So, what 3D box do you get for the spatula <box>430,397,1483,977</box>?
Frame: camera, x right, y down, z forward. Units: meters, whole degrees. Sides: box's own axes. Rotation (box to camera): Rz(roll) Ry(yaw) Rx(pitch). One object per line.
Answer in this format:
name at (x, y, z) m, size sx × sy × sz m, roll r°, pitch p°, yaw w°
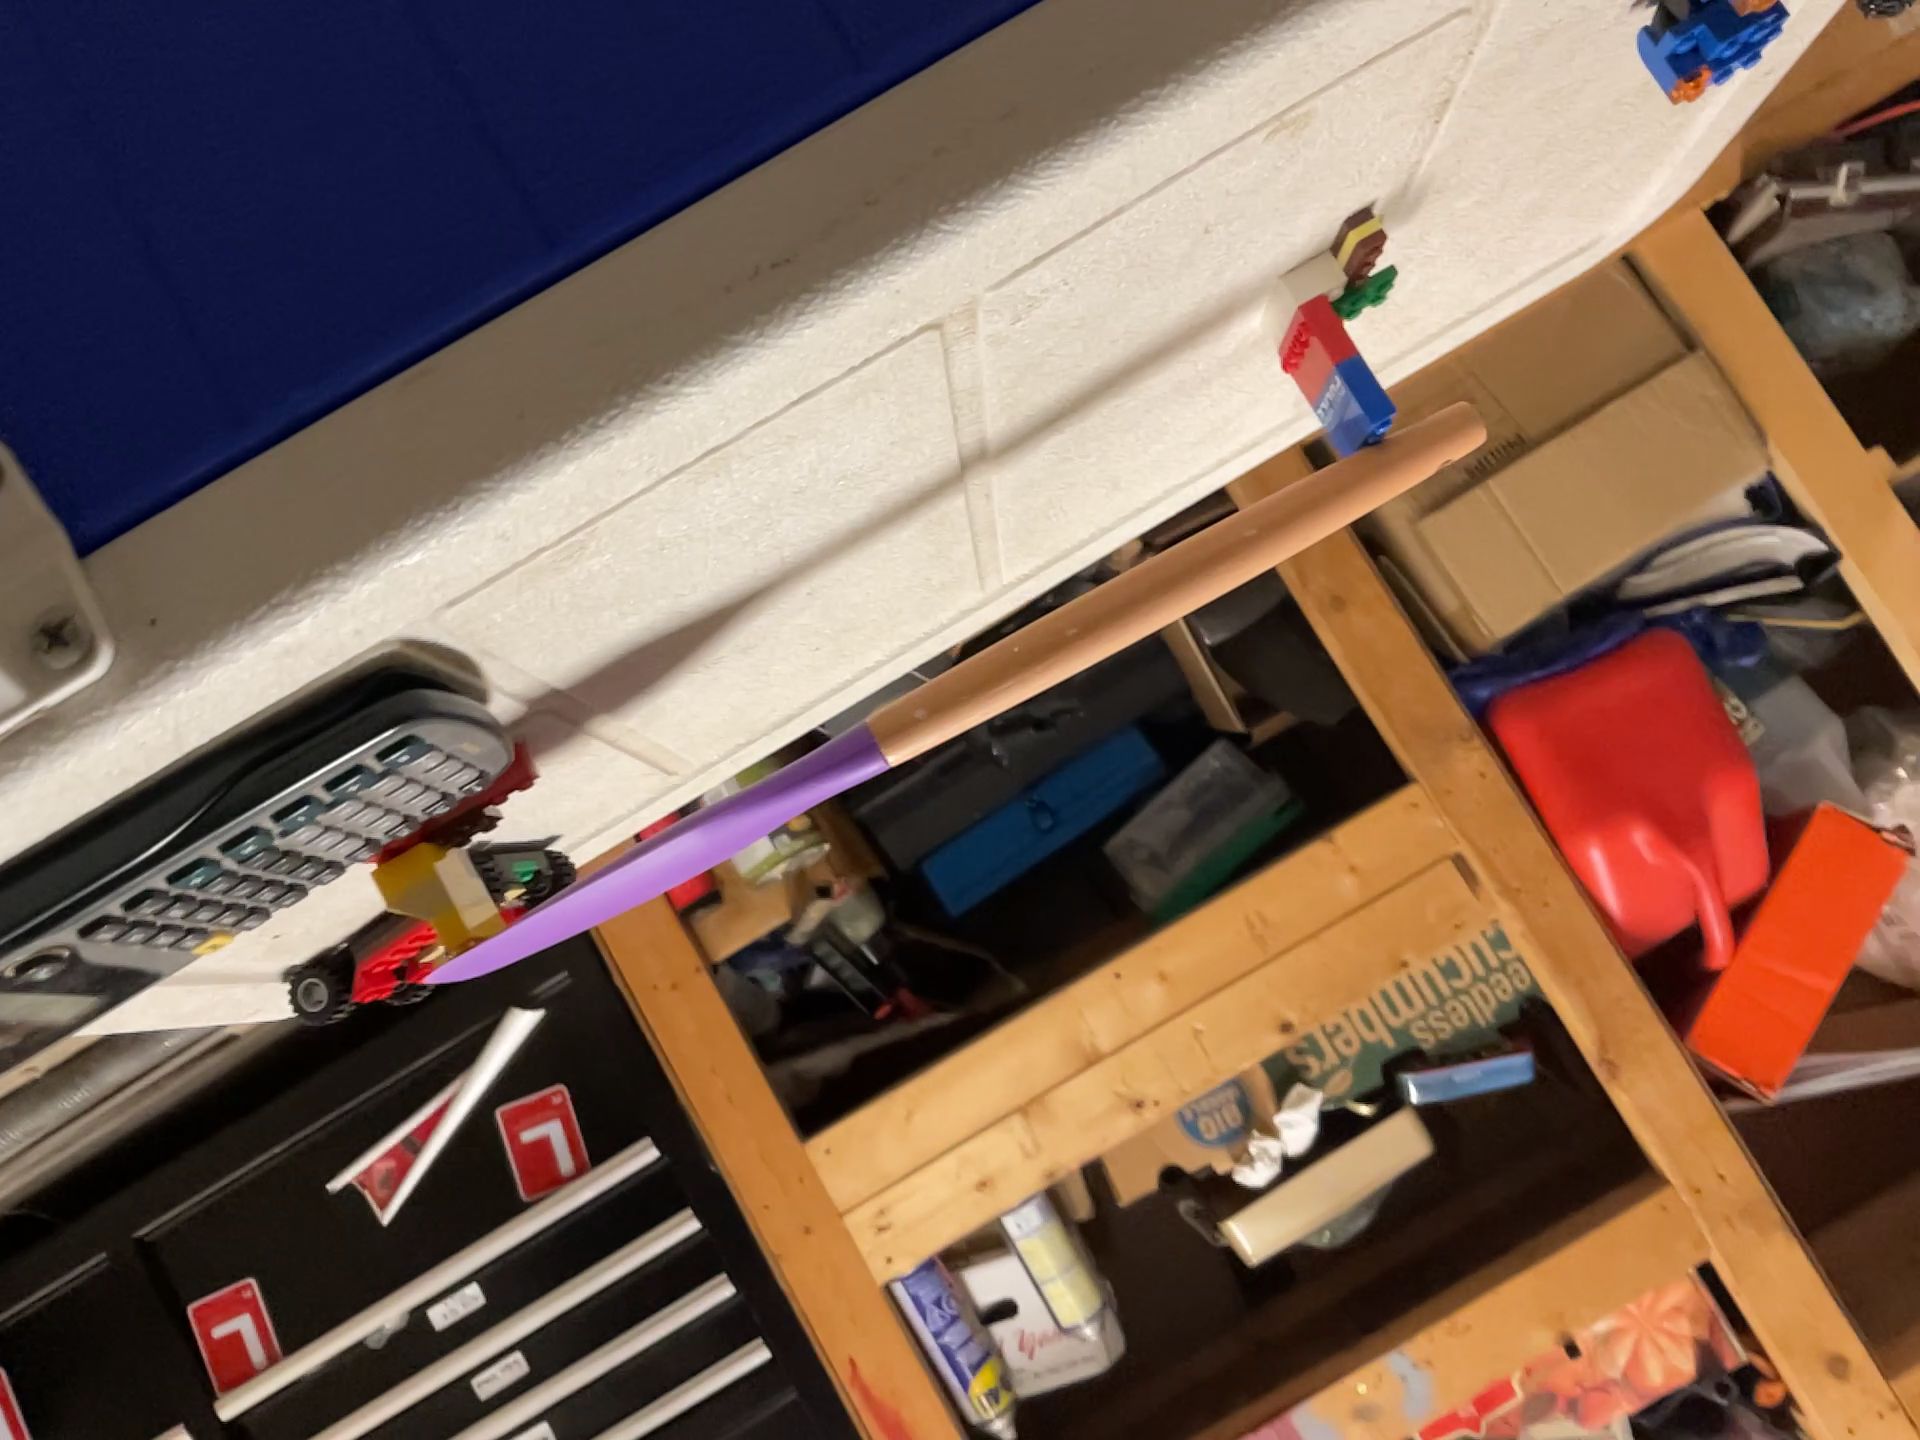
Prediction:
spatula at (0.001, -0.007, 0.435) m, size 0.316 × 0.018 × 0.060 m, roll -29°, pitch 171°, yaw 0°
